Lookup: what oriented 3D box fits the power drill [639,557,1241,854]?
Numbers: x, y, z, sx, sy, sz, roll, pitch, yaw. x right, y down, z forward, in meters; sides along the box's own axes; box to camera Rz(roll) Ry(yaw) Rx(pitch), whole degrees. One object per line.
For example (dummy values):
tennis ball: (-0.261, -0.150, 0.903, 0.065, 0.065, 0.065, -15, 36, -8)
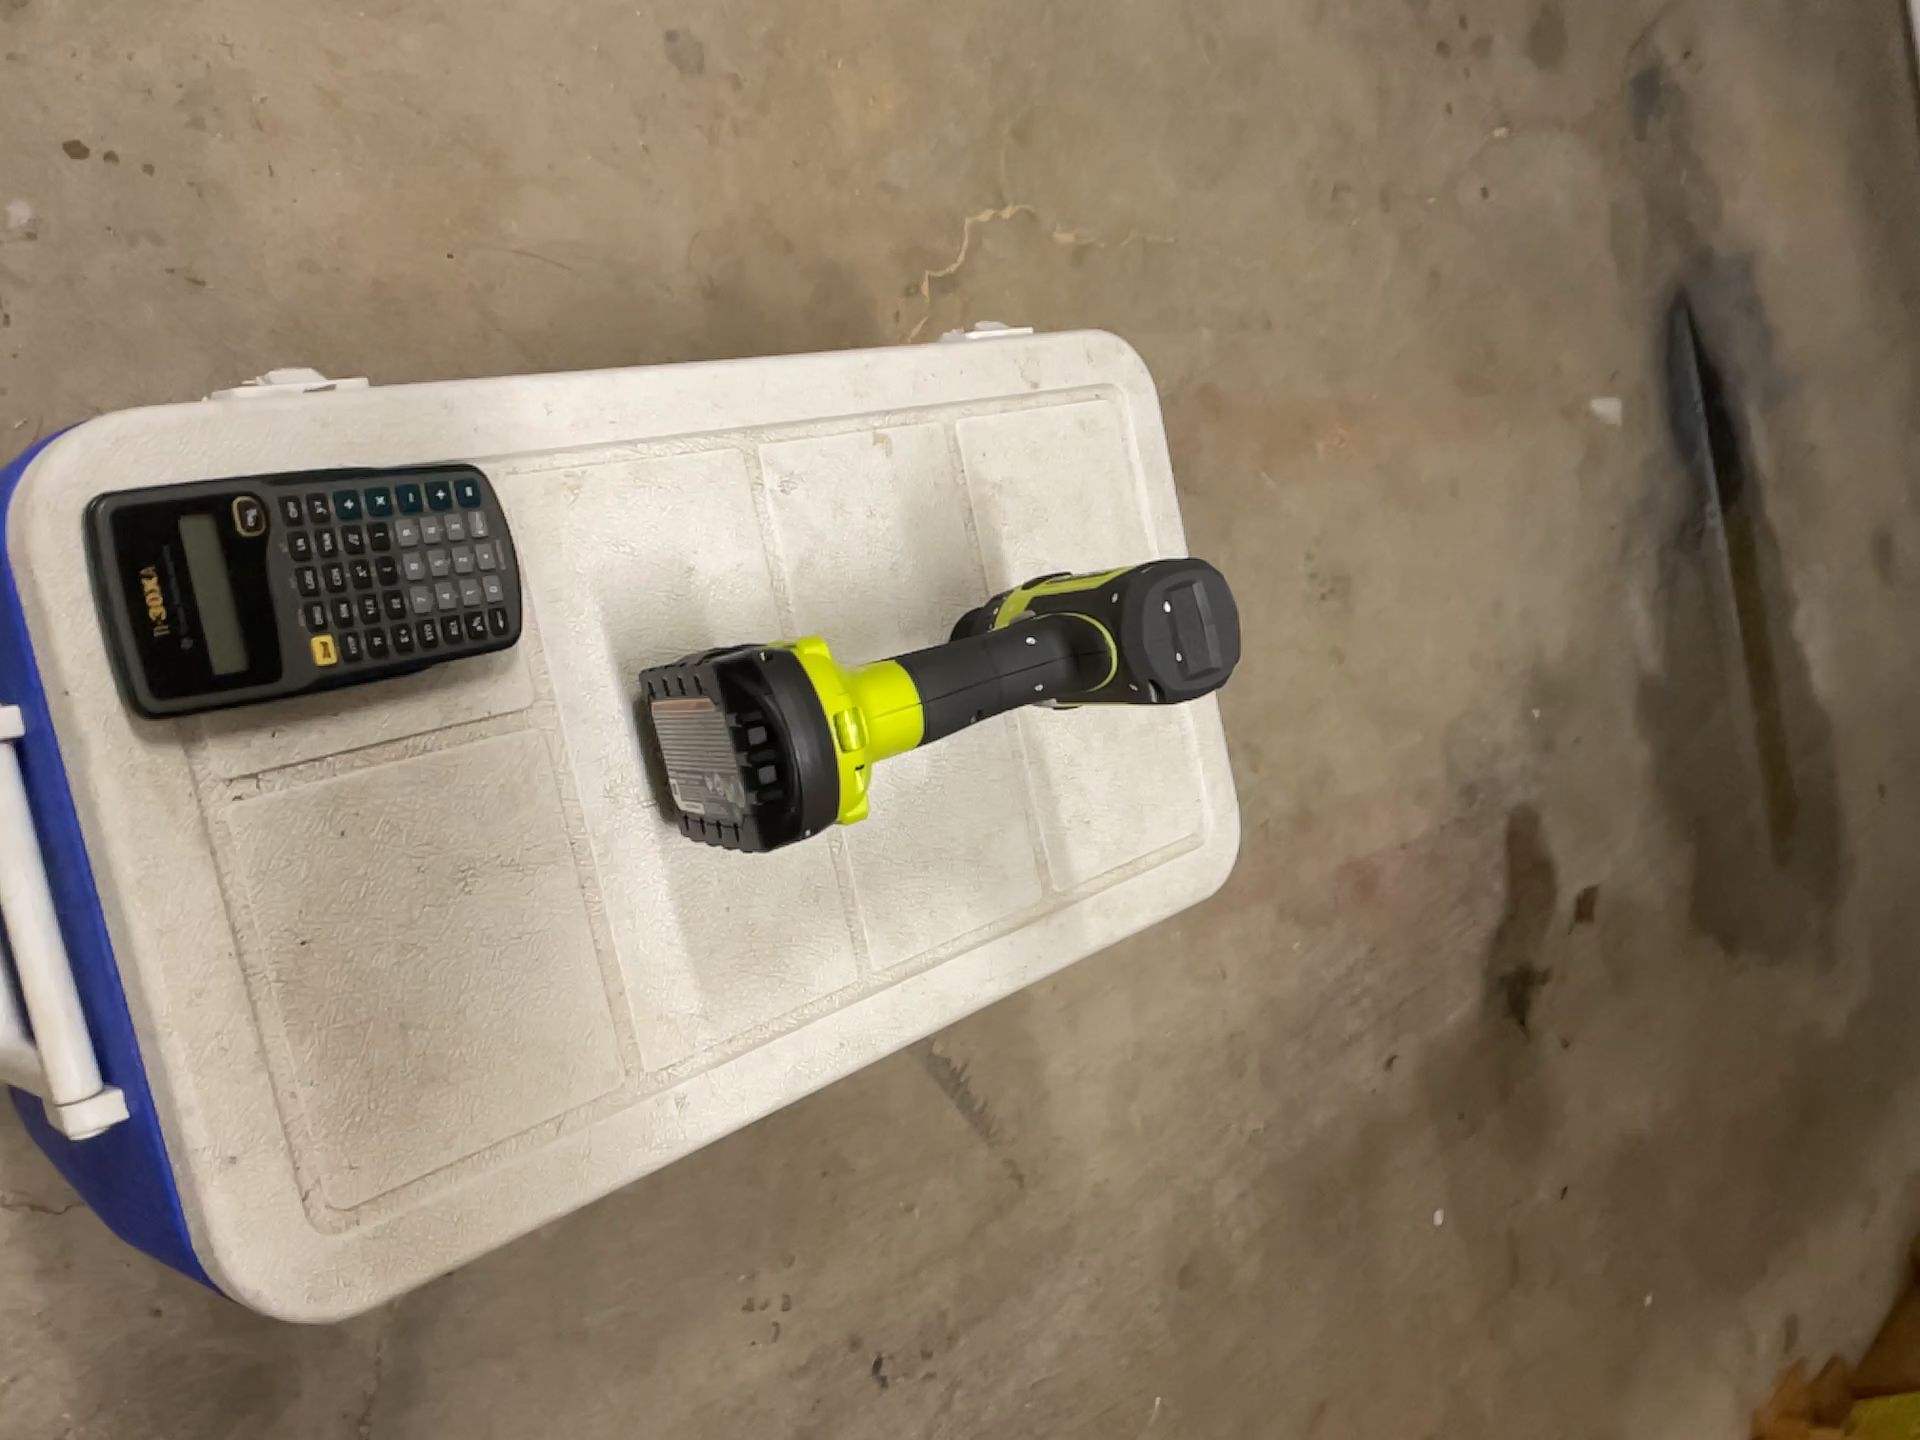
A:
power drill: (-0.016, -0.015, 0.706, 0.229, 0.190, 0.080, -18, 98, -28)
